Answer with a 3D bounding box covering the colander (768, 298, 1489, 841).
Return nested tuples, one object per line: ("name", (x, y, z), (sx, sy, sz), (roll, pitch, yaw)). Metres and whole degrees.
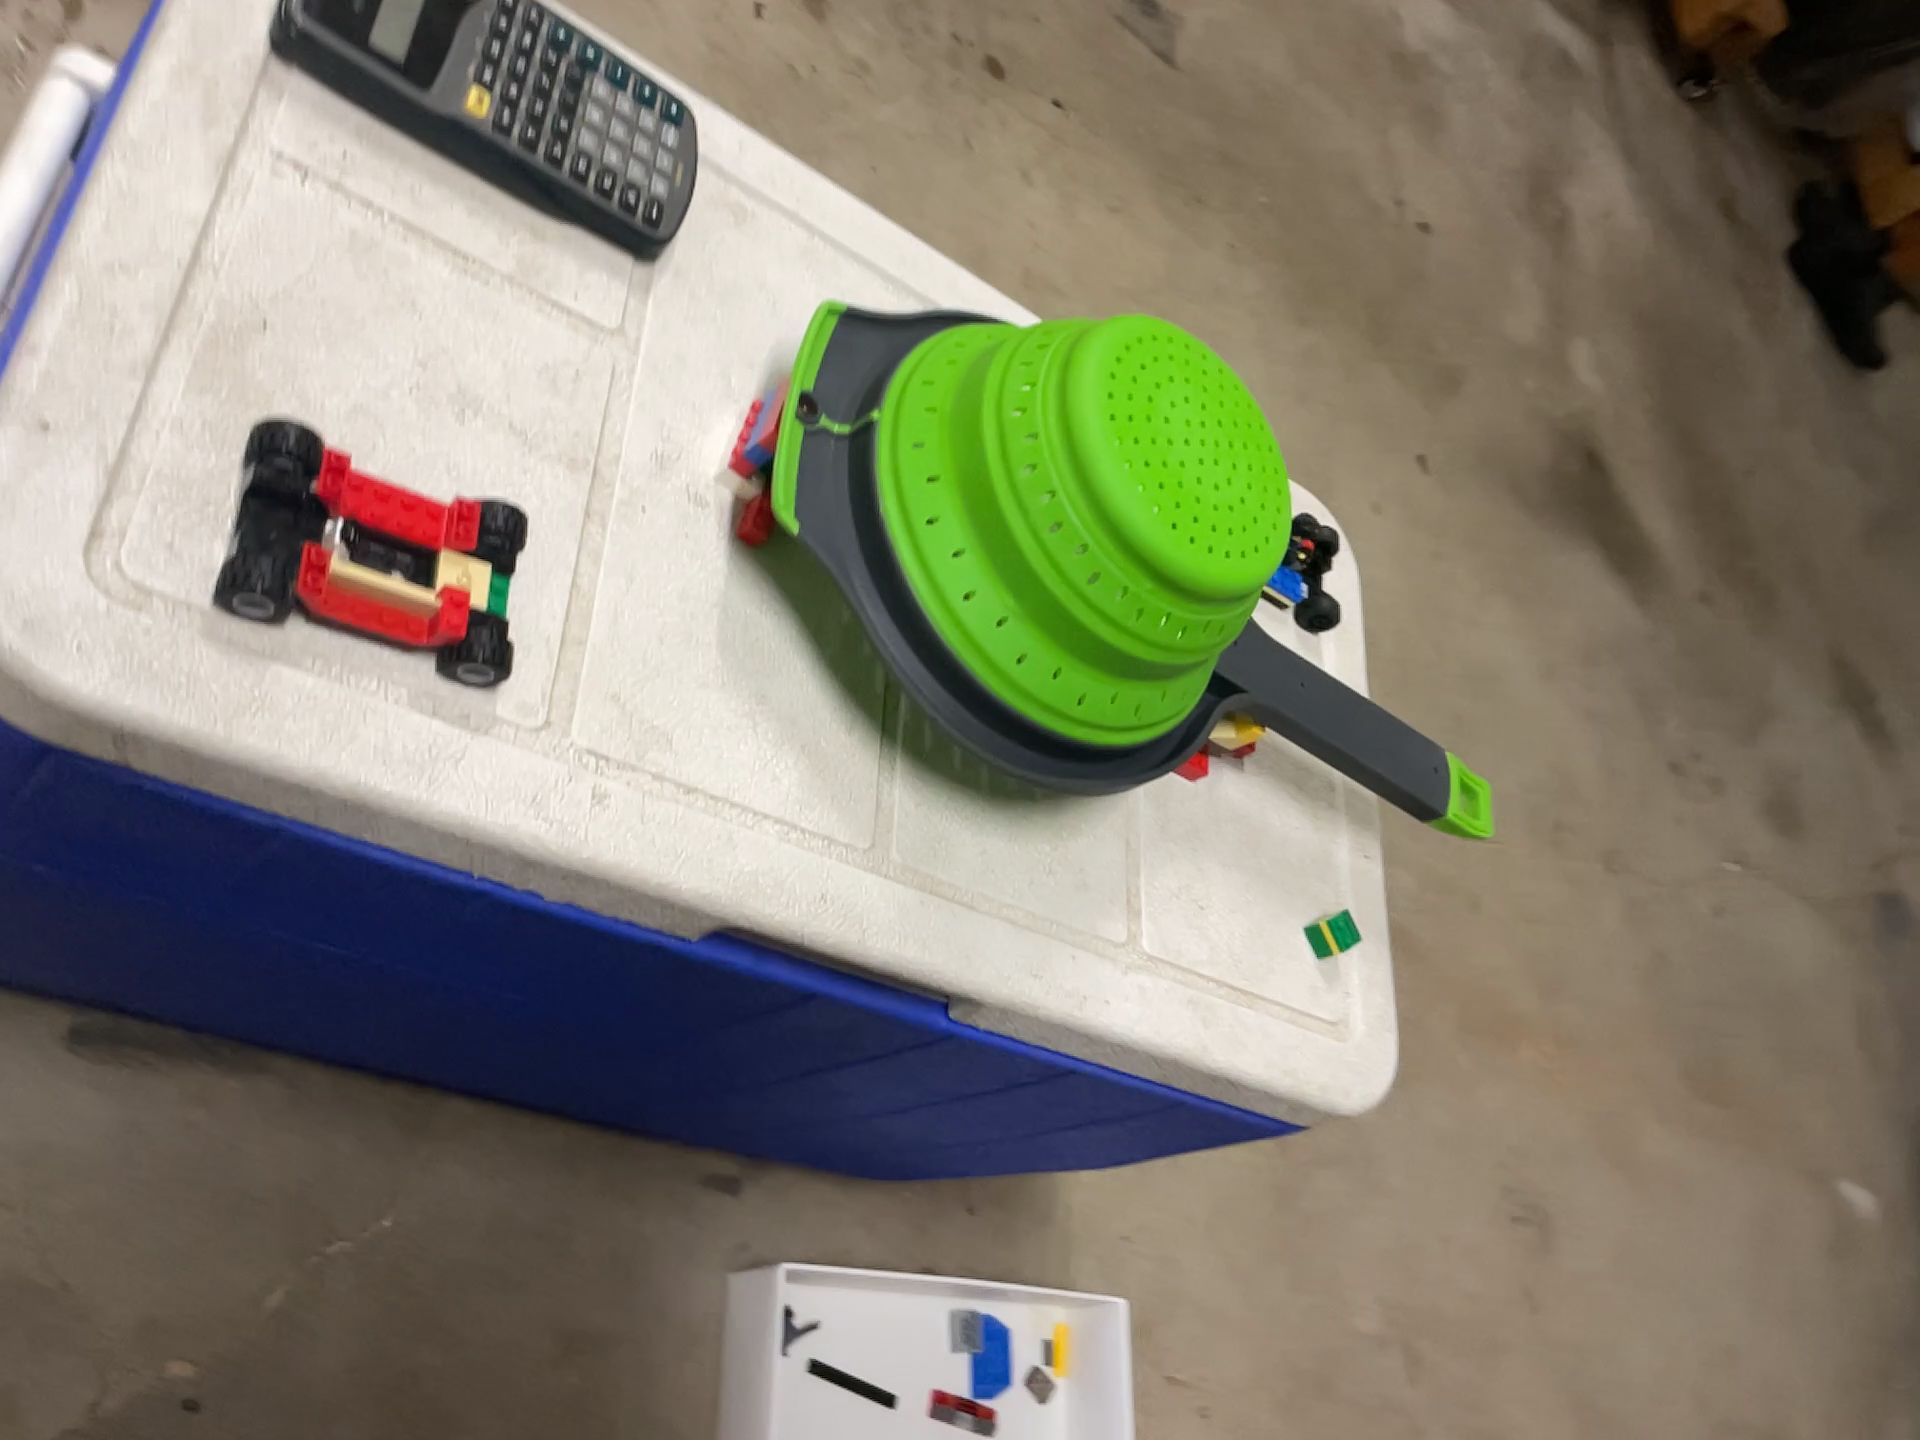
("colander", (0.116, -0.047, 0.629), (0.396, 0.094, 0.205), (28, 54, -30))
